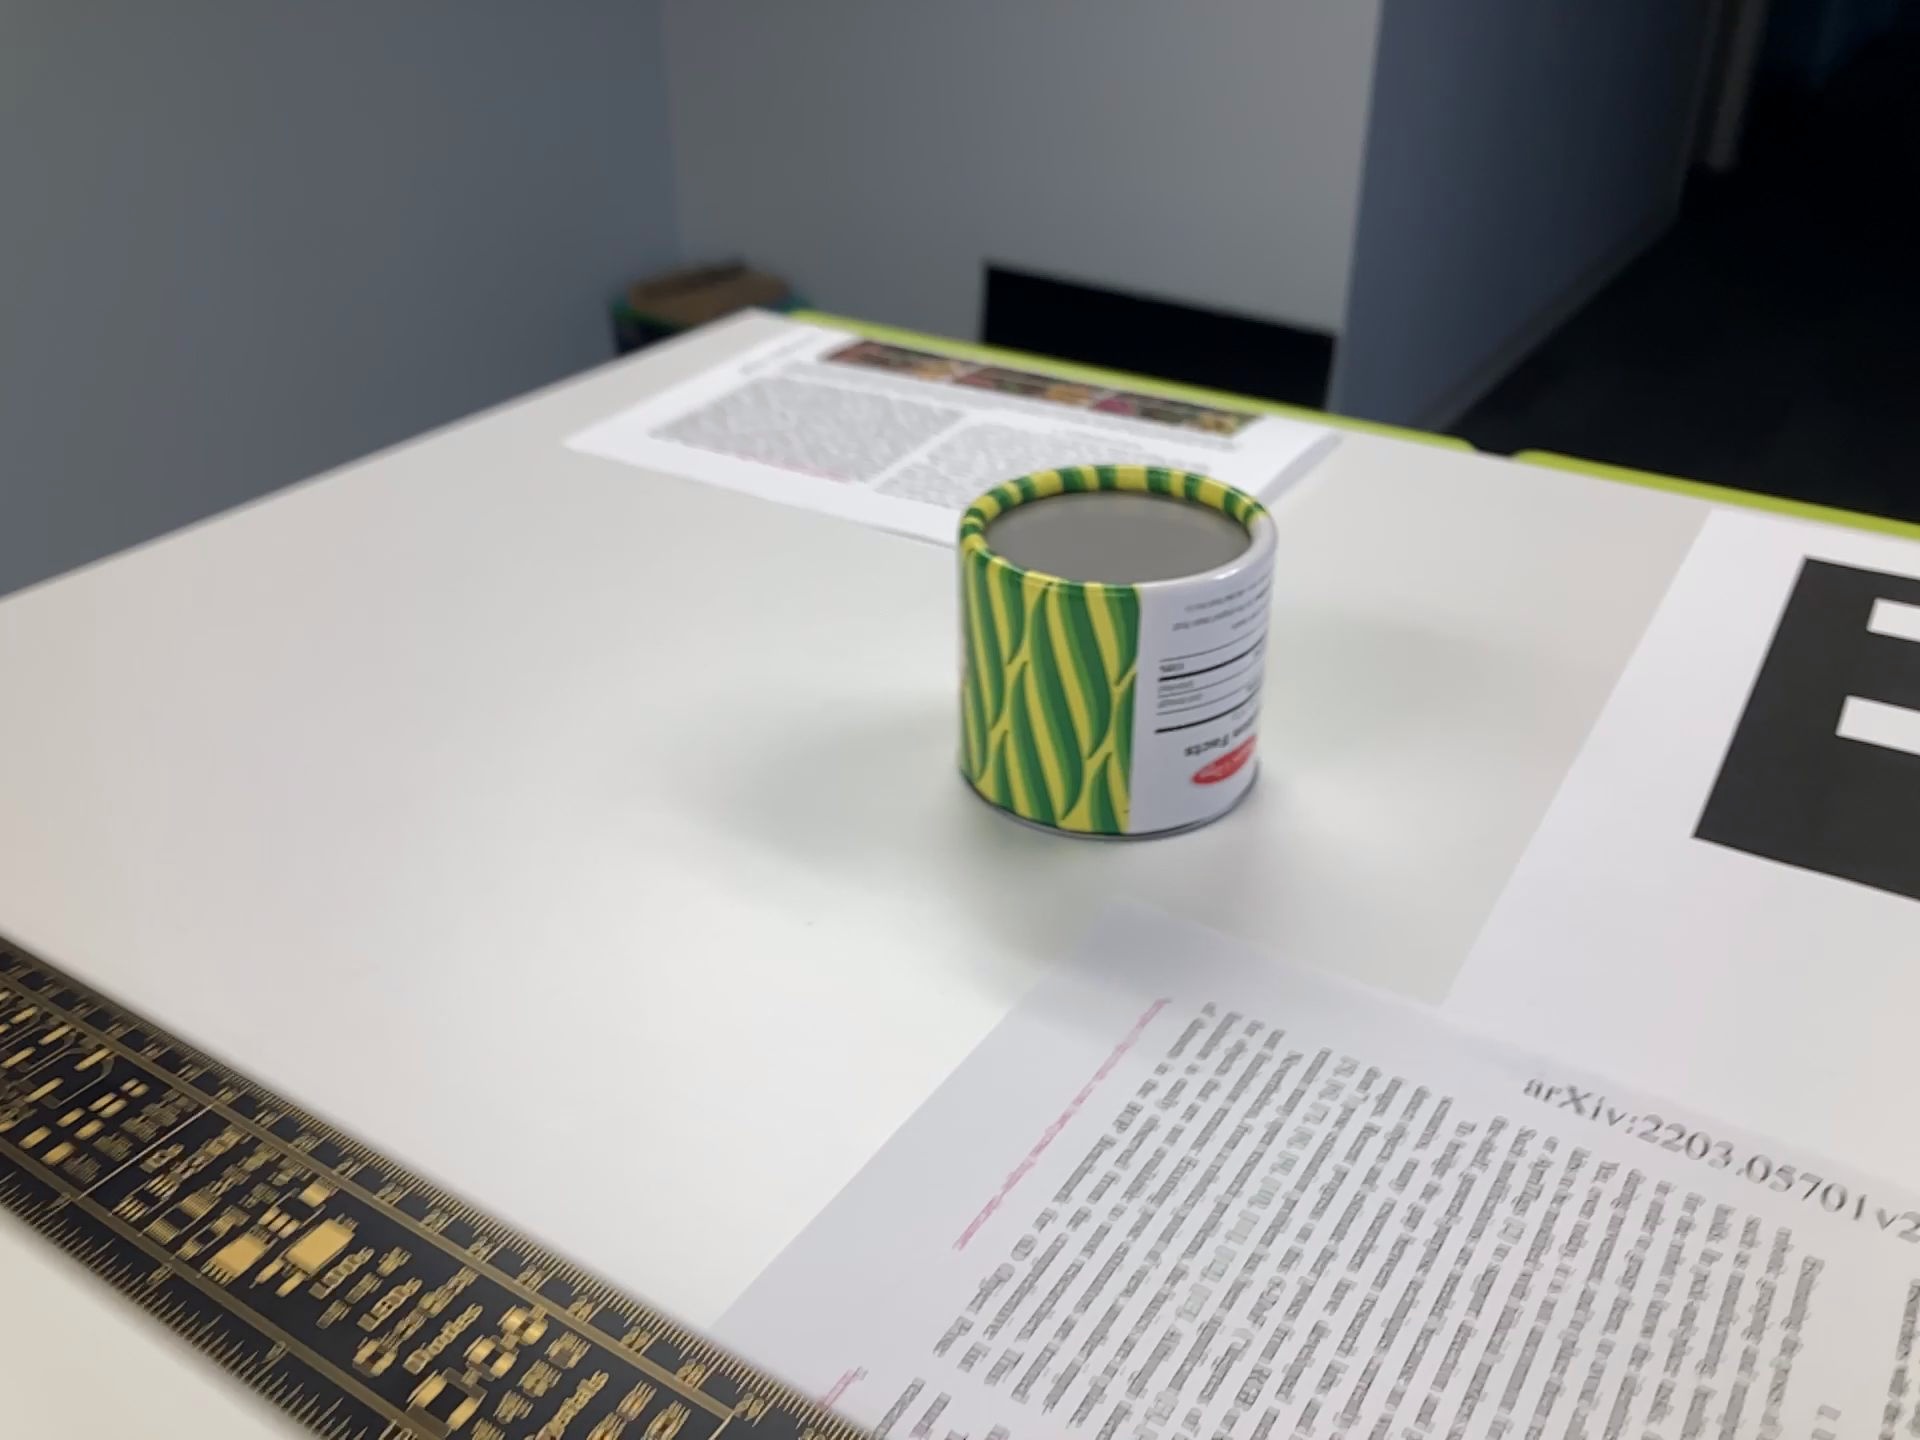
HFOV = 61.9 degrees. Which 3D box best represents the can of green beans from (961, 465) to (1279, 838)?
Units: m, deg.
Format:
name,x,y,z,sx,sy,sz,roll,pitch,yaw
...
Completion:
name,x,y,z,sx,sy,sz,roll,pitch,yaw
can of green beans,0.033,-0.017,0.346,0.071,0.058,0.071,0,31,0
